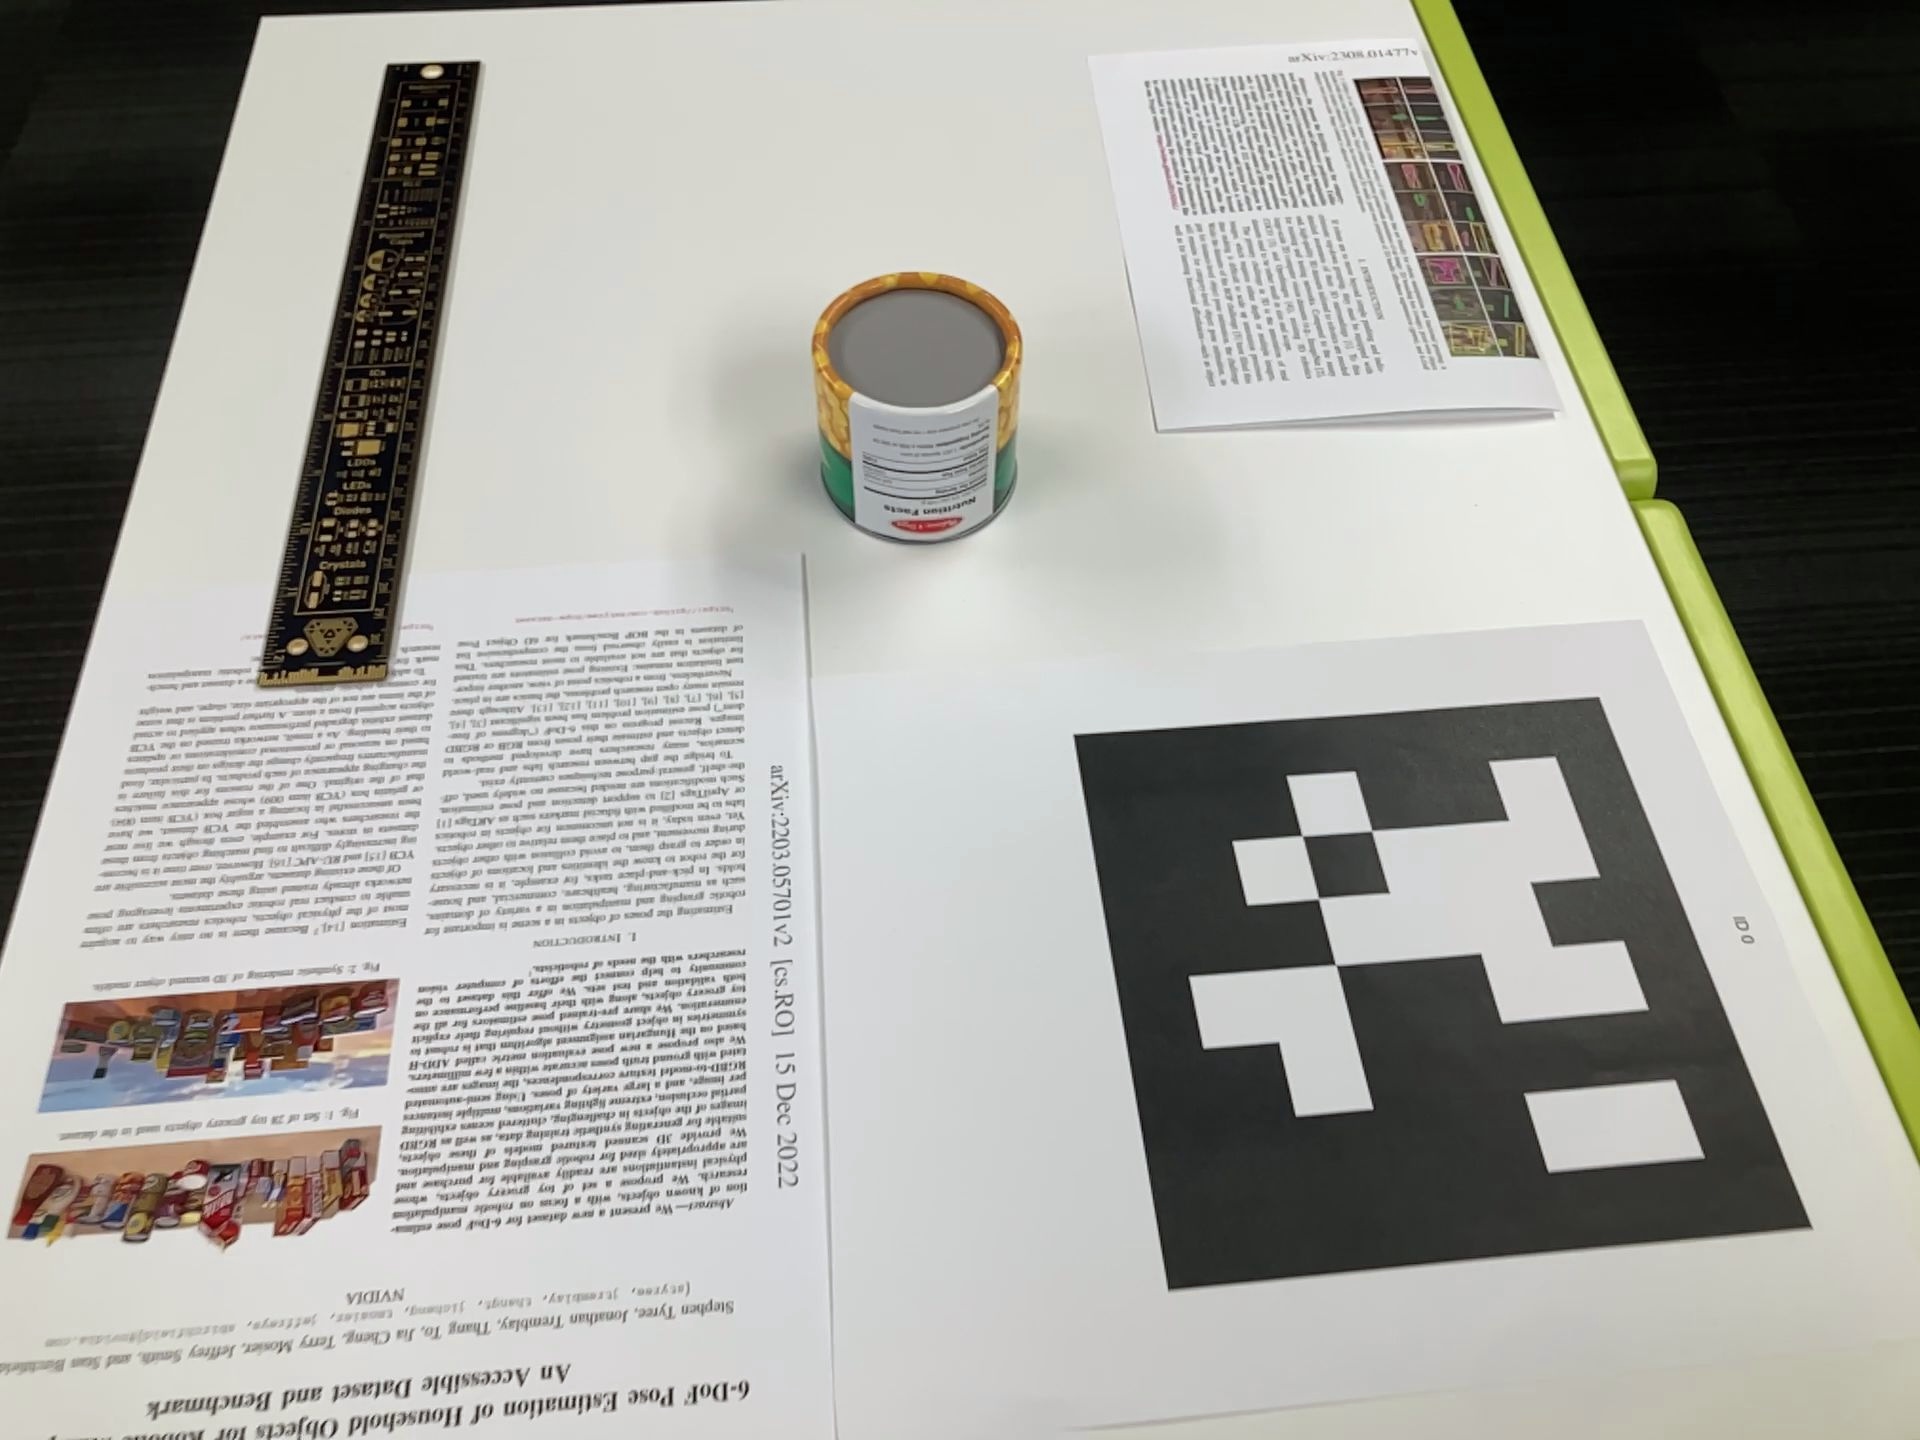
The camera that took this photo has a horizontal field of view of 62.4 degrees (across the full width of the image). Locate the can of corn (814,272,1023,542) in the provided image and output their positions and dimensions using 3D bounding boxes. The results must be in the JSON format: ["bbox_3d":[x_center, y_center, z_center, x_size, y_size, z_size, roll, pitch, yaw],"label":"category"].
[{"bbox_3d":[-0.014,-0.104,0.517,0.071,0.058,0.071,0,55,-1],"label":"can of corn"}]
